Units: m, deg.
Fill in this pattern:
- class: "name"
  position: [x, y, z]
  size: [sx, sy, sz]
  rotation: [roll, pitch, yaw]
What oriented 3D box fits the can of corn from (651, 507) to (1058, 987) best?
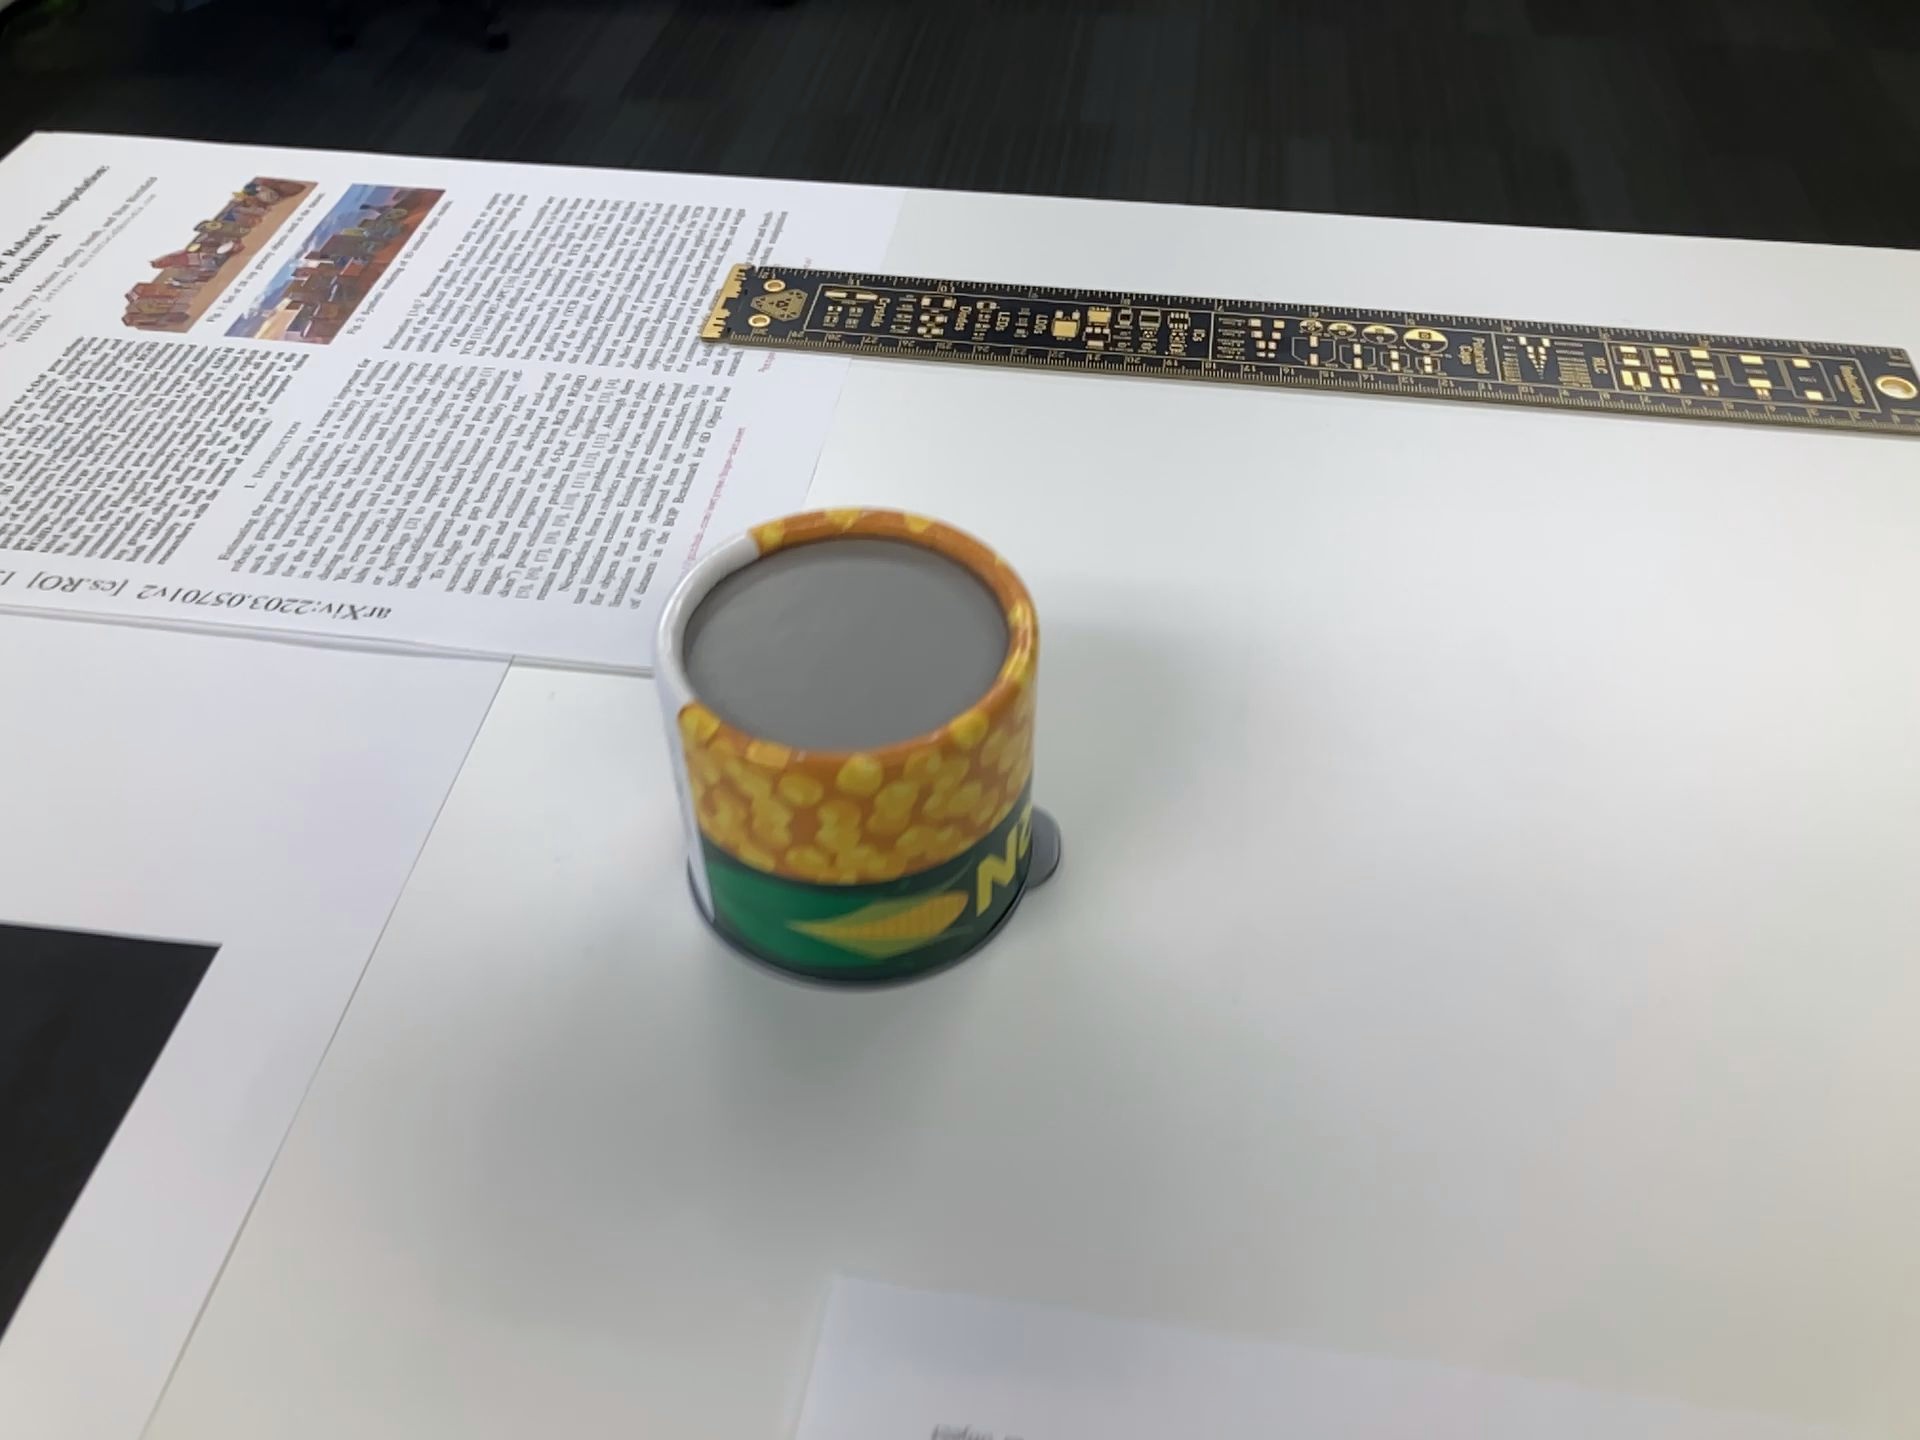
- class: "can of corn"
  position: [-0.017, 0.004, 0.286]
  size: [0.071, 0.058, 0.071]
  rotation: [0, 45, 0]
